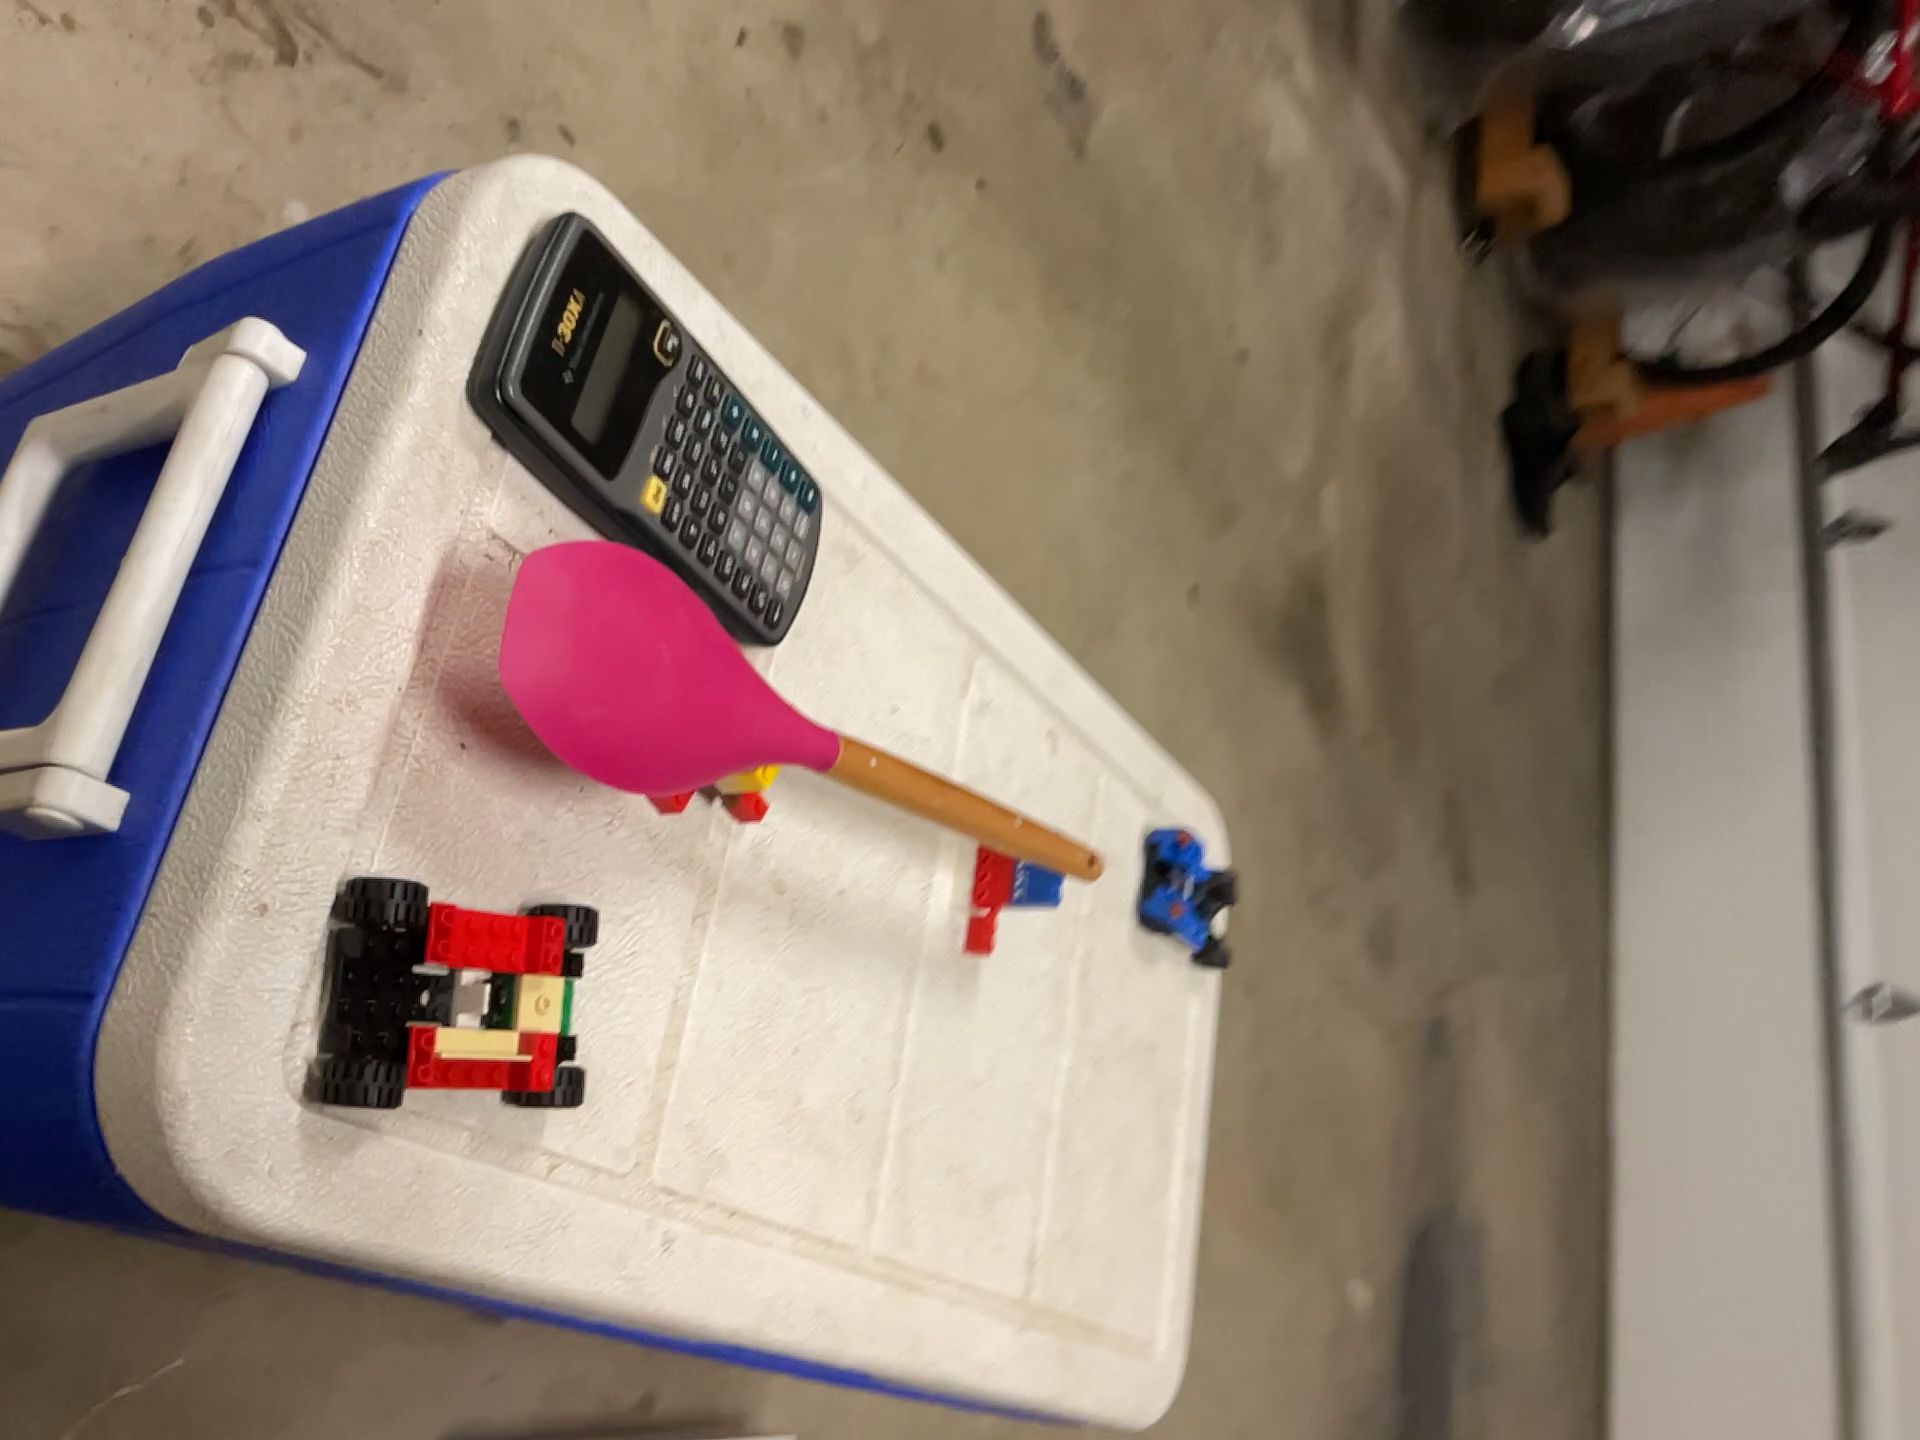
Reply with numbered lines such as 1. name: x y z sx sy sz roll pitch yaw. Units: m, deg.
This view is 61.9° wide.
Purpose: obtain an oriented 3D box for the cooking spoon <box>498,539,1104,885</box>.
1. cooking spoon: -0.031 0.017 0.544 0.319 0.017 0.069 28 67 -53
